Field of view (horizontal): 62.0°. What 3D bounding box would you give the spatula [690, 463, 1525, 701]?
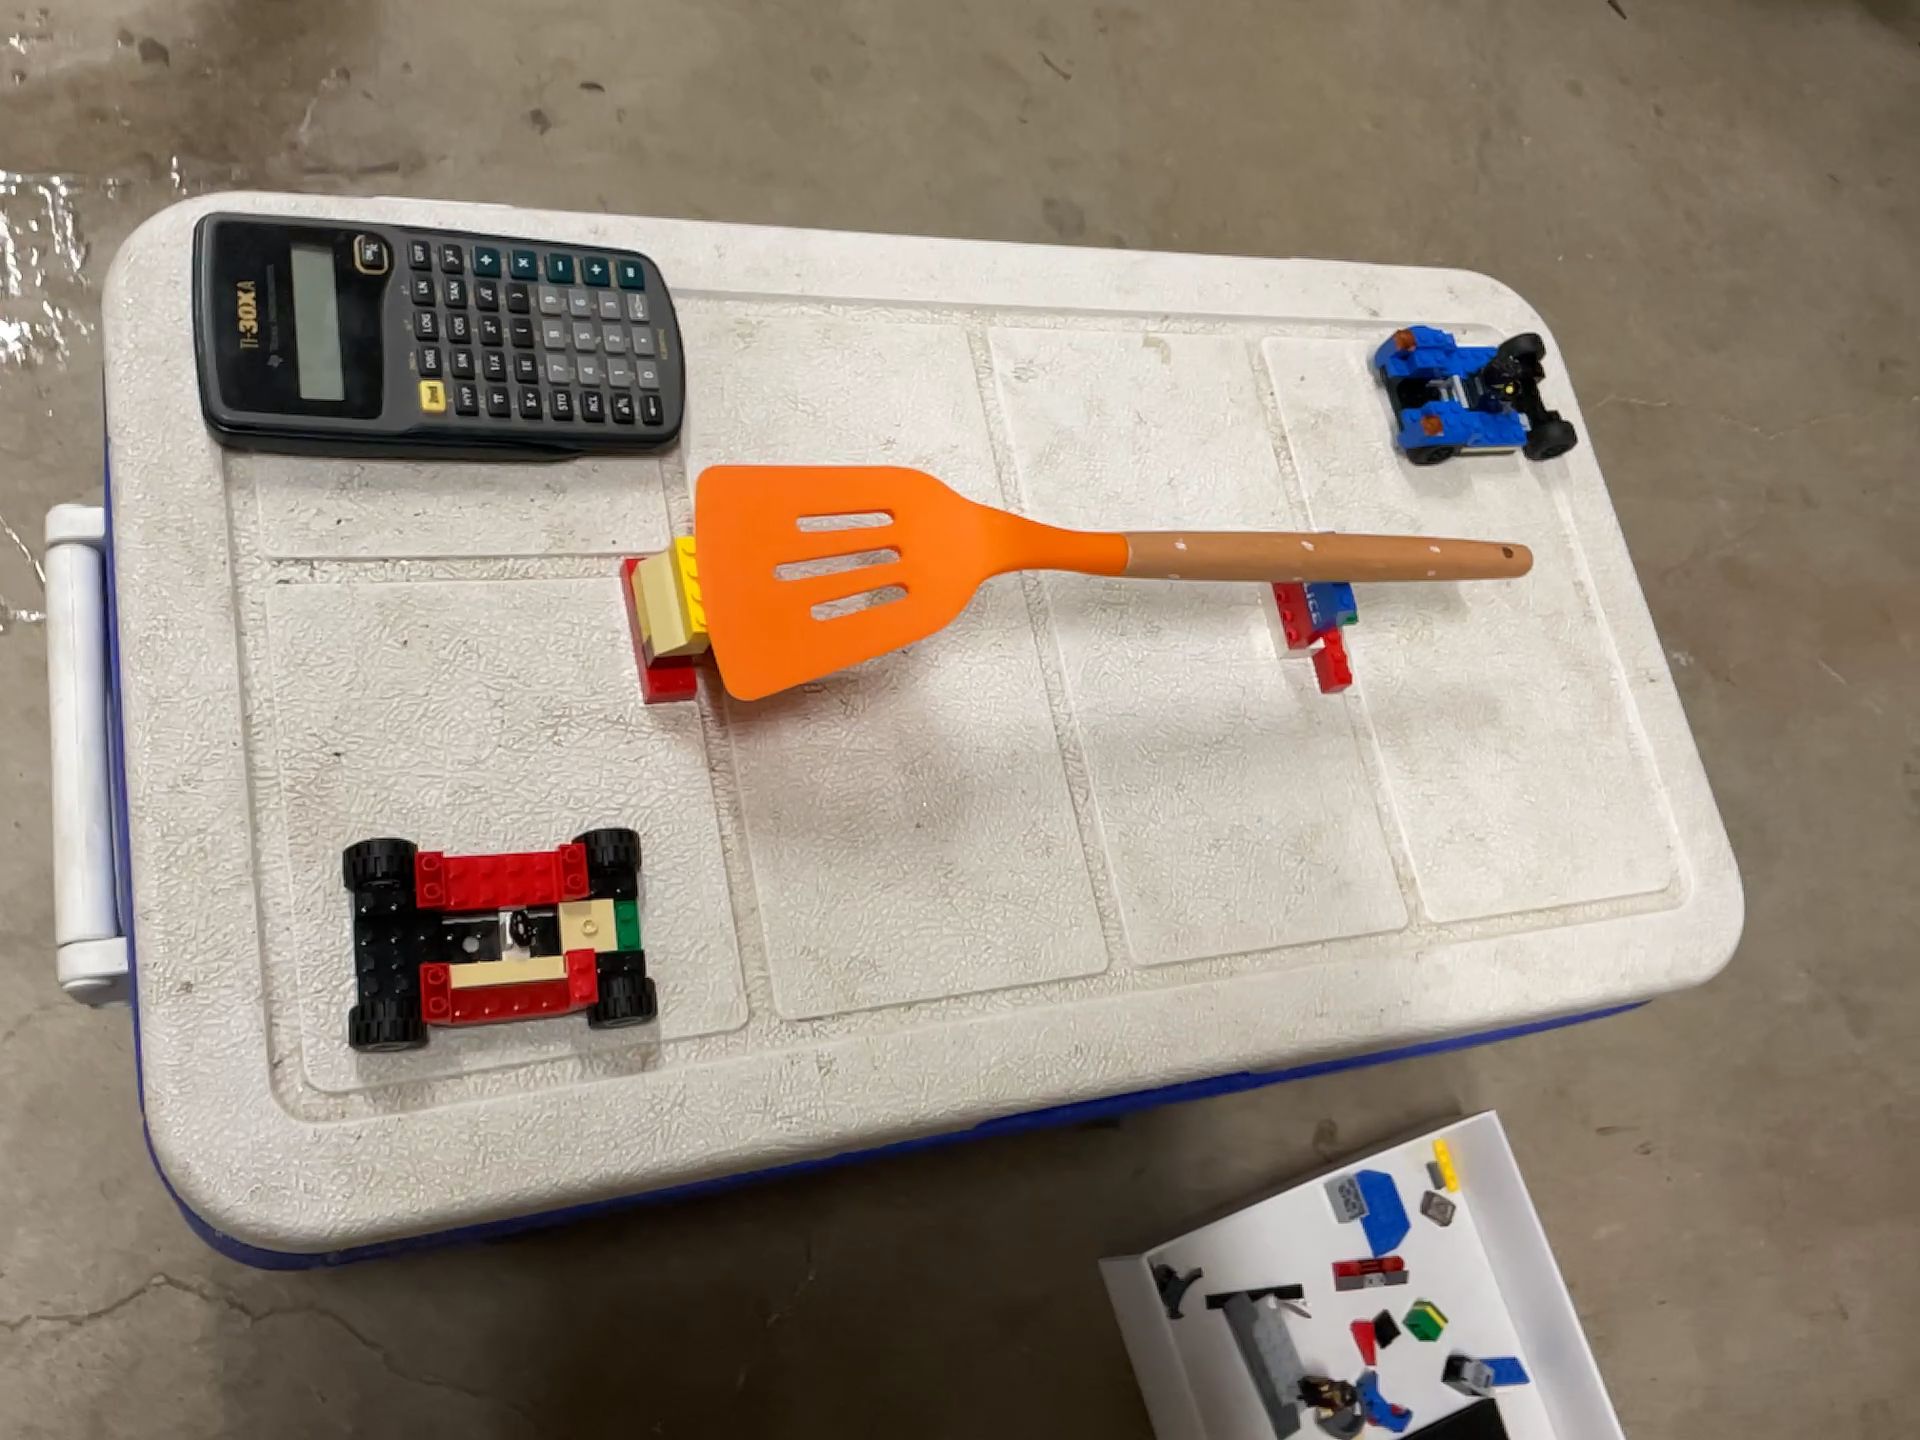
[{"bbox_3d":[0.069,-0.054,0.554,0.322,0.041,0.081,-2,70,-28],"label":"spatula"}]
